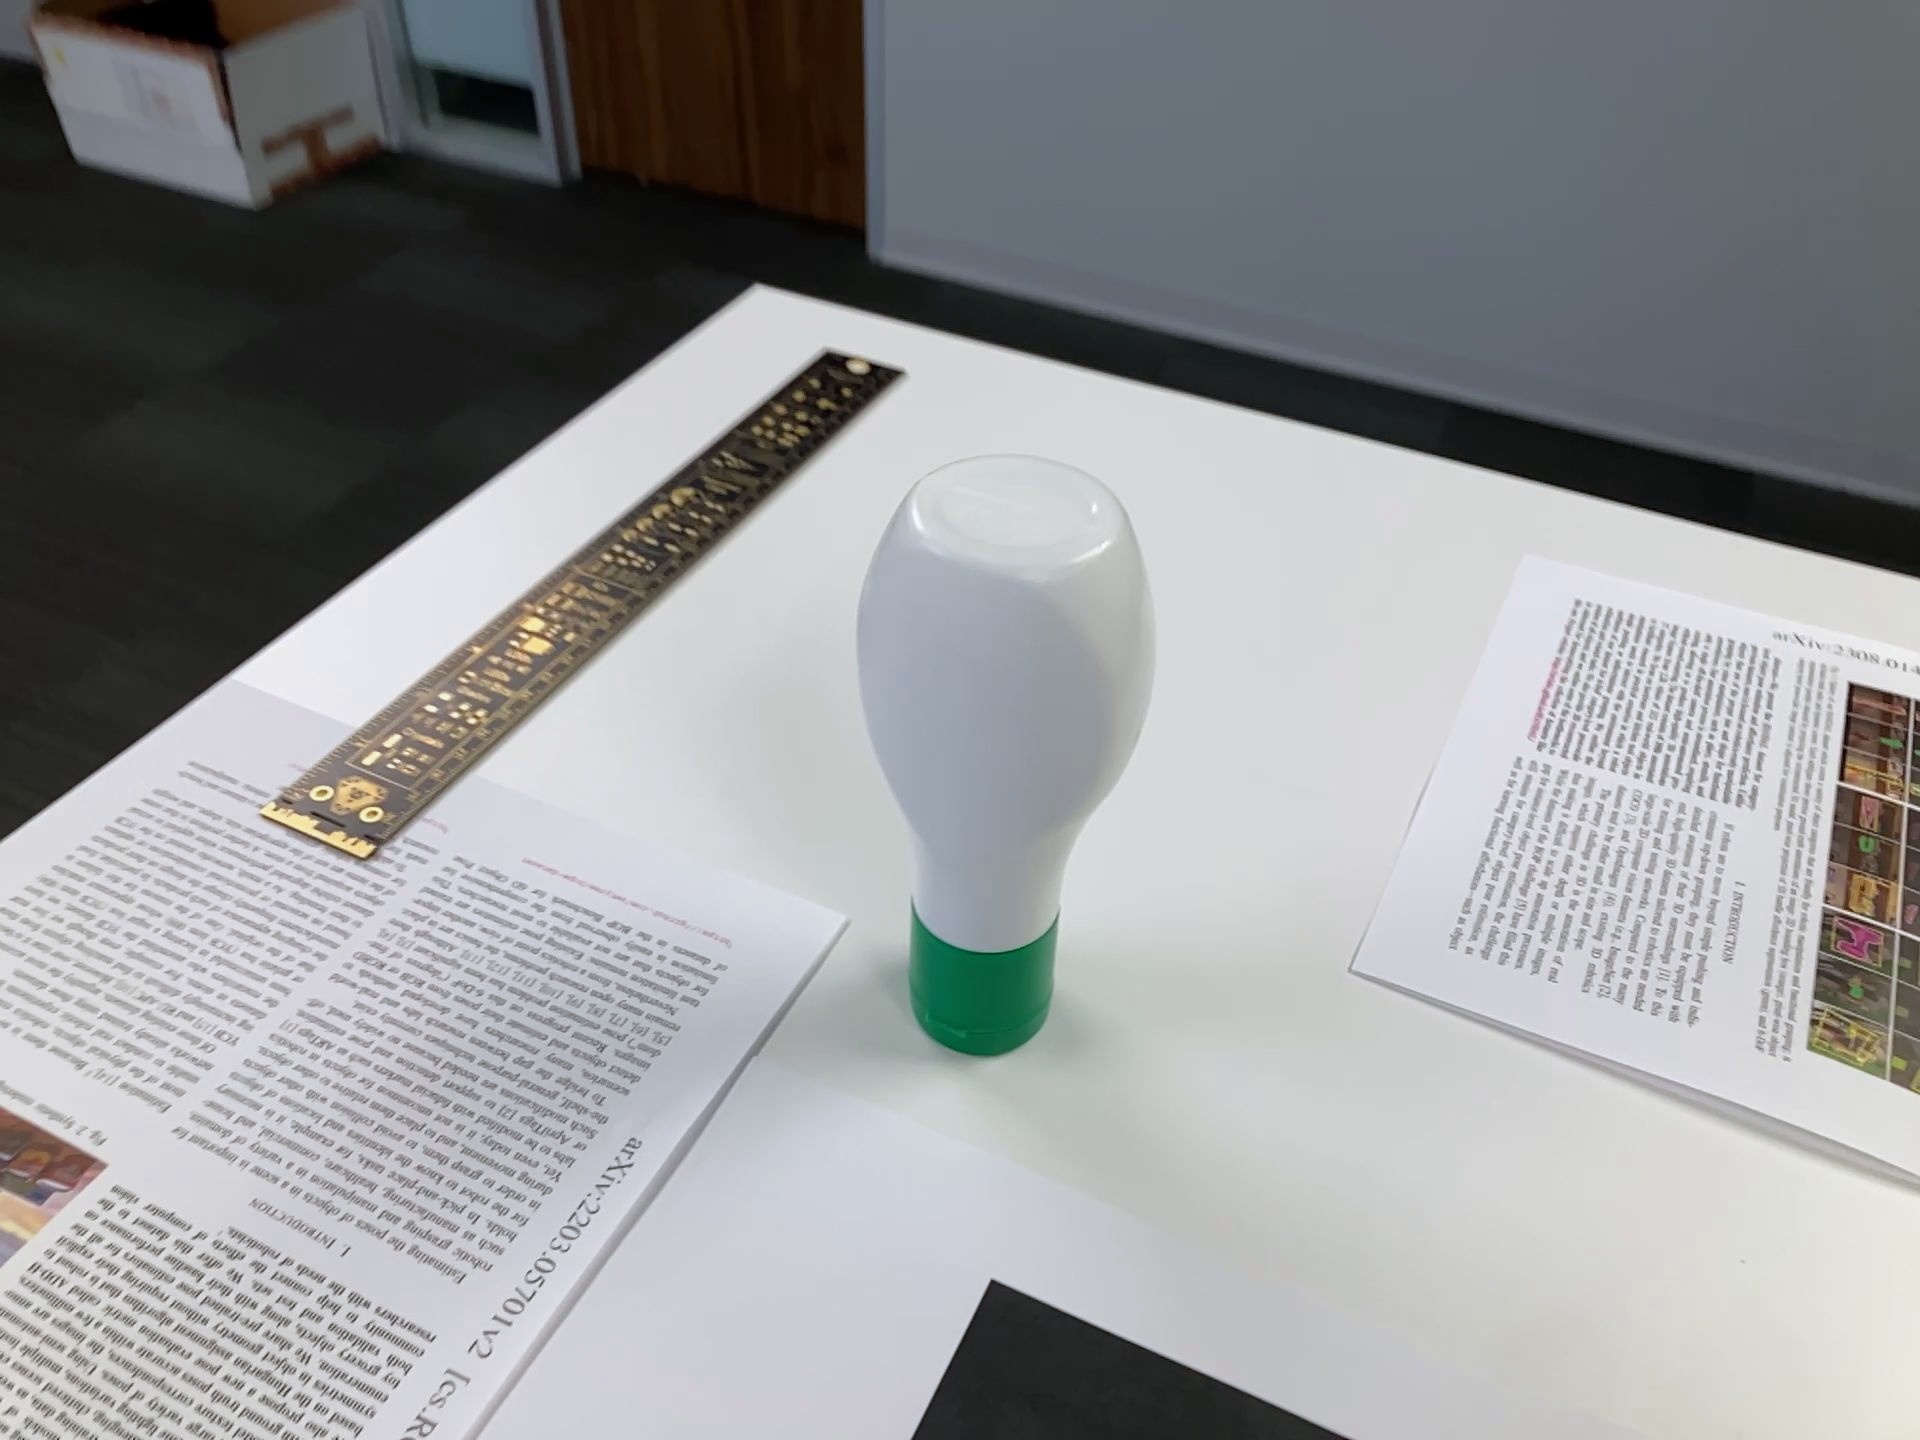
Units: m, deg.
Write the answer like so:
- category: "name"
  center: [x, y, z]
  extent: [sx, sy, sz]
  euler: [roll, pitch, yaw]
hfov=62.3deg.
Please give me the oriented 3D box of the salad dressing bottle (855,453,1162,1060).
- category: "salad dressing bottle"
  center: [0.008, 0.015, 0.354]
  extent: [0.064, 0.147, 0.044]
  euler: [20, 42, 20]
